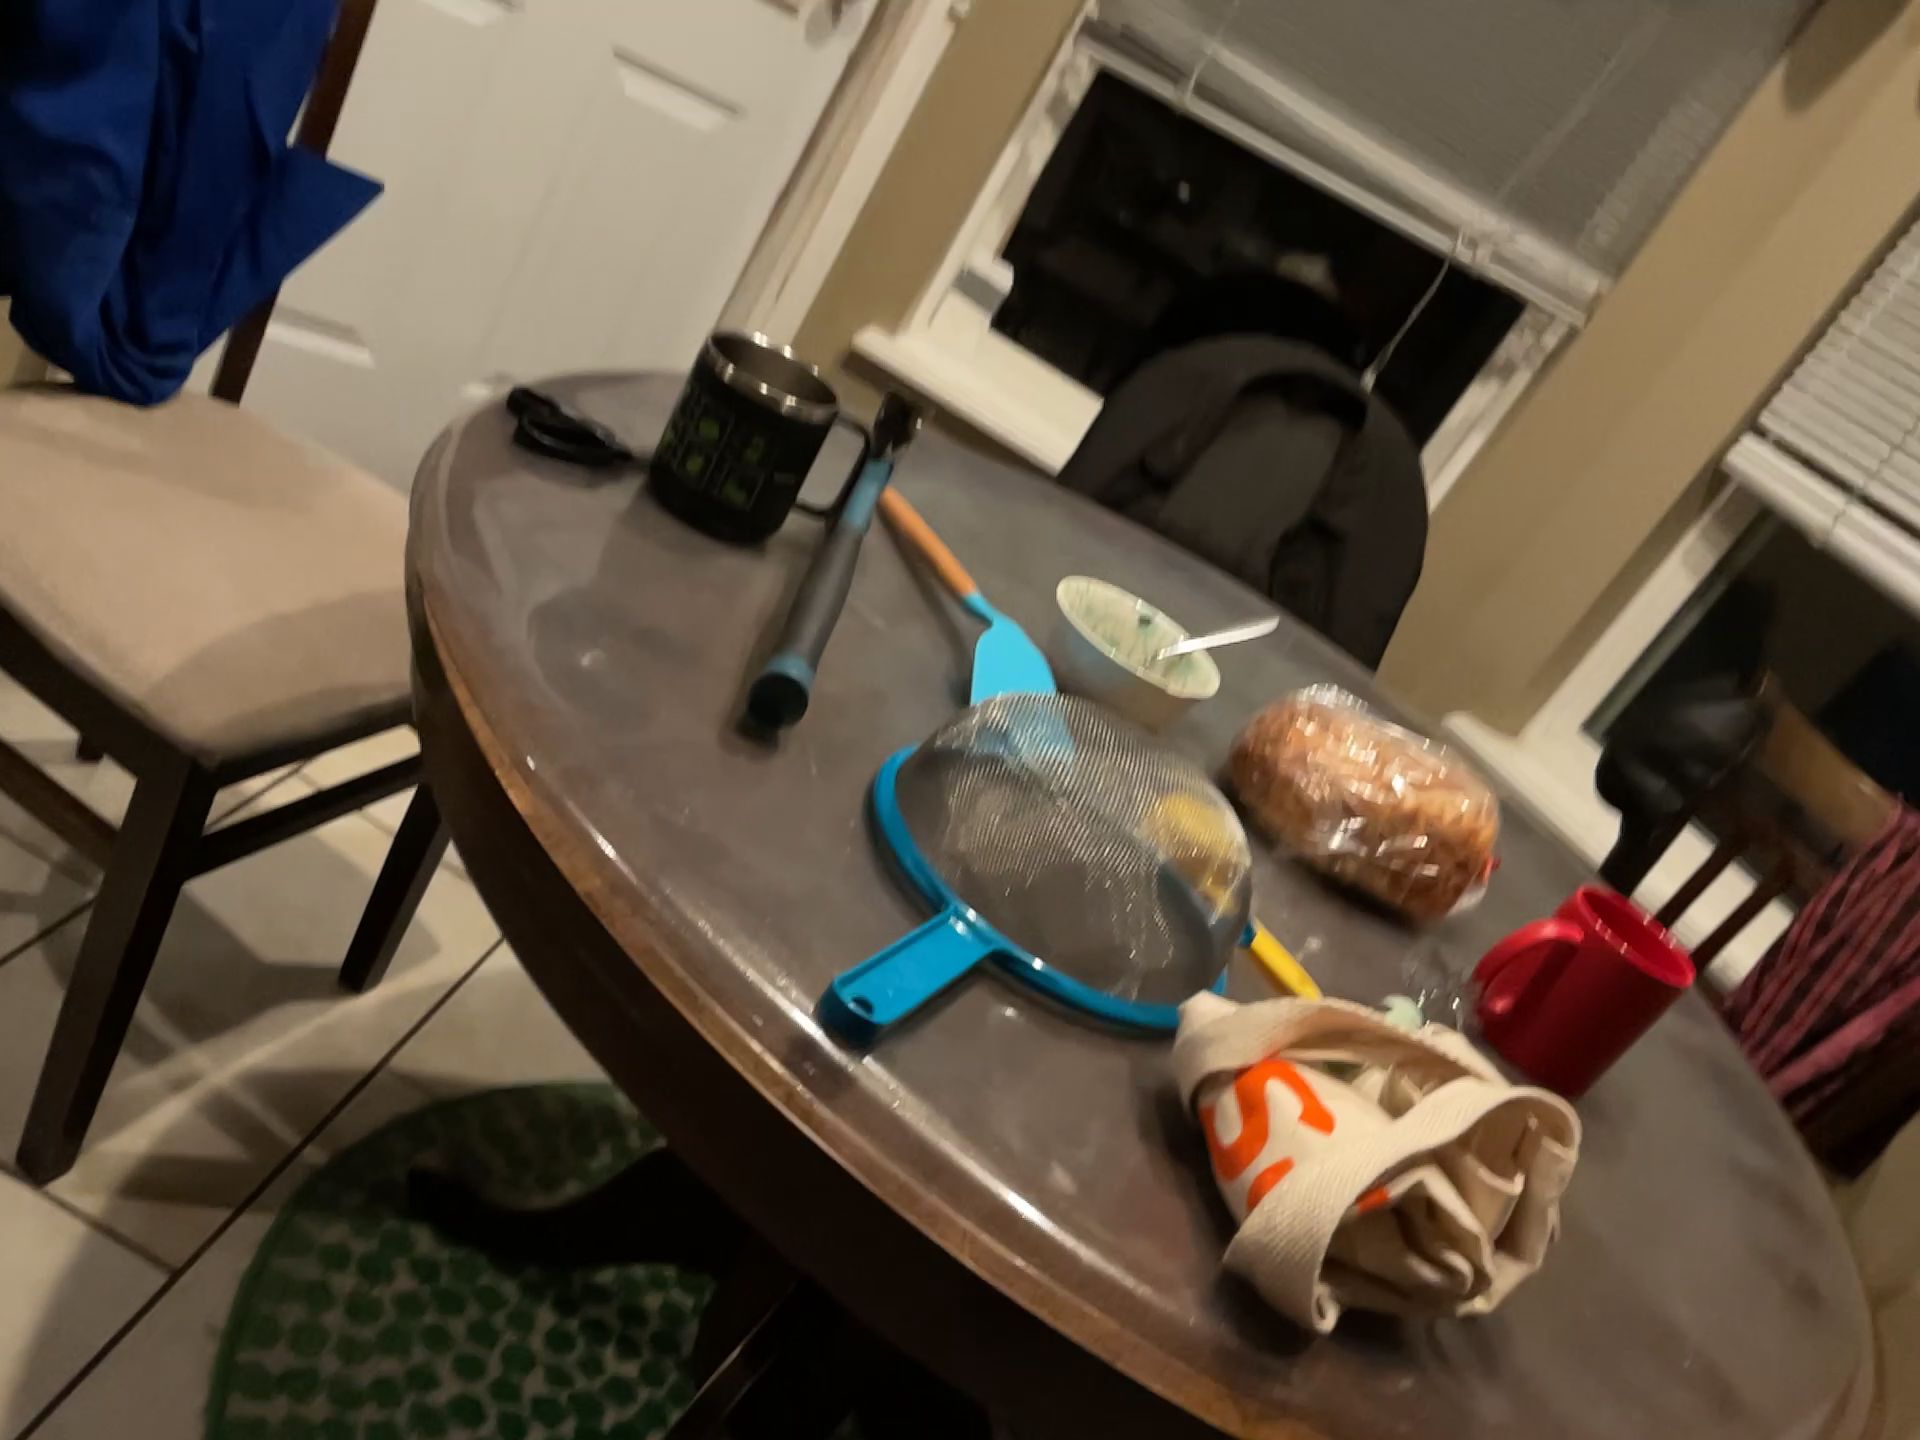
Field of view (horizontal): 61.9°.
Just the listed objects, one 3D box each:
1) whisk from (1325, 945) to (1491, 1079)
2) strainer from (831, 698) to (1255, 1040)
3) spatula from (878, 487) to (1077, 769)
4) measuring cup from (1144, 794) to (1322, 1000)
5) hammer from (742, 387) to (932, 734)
[{"bbox_3d":[0.227,0.153,0.822,0.246,0.058,0.059,4,66,-62],"label":"whisk"},{"bbox_3d":[0.042,0.062,0.754,0.211,0.095,0.340,37,20,14],"label":"strainer"},{"bbox_3d":[-0.007,-0.078,1.059,0.082,0.044,0.318,15,24,-32],"label":"spatula"},{"bbox_3d":[0.162,0.097,0.909,0.062,0.029,0.157,10,30,-41],"label":"measuring cup"},{"bbox_3d":[-0.073,-0.093,0.928,0.033,0.128,0.331,25,33,-8],"label":"hammer"}]
